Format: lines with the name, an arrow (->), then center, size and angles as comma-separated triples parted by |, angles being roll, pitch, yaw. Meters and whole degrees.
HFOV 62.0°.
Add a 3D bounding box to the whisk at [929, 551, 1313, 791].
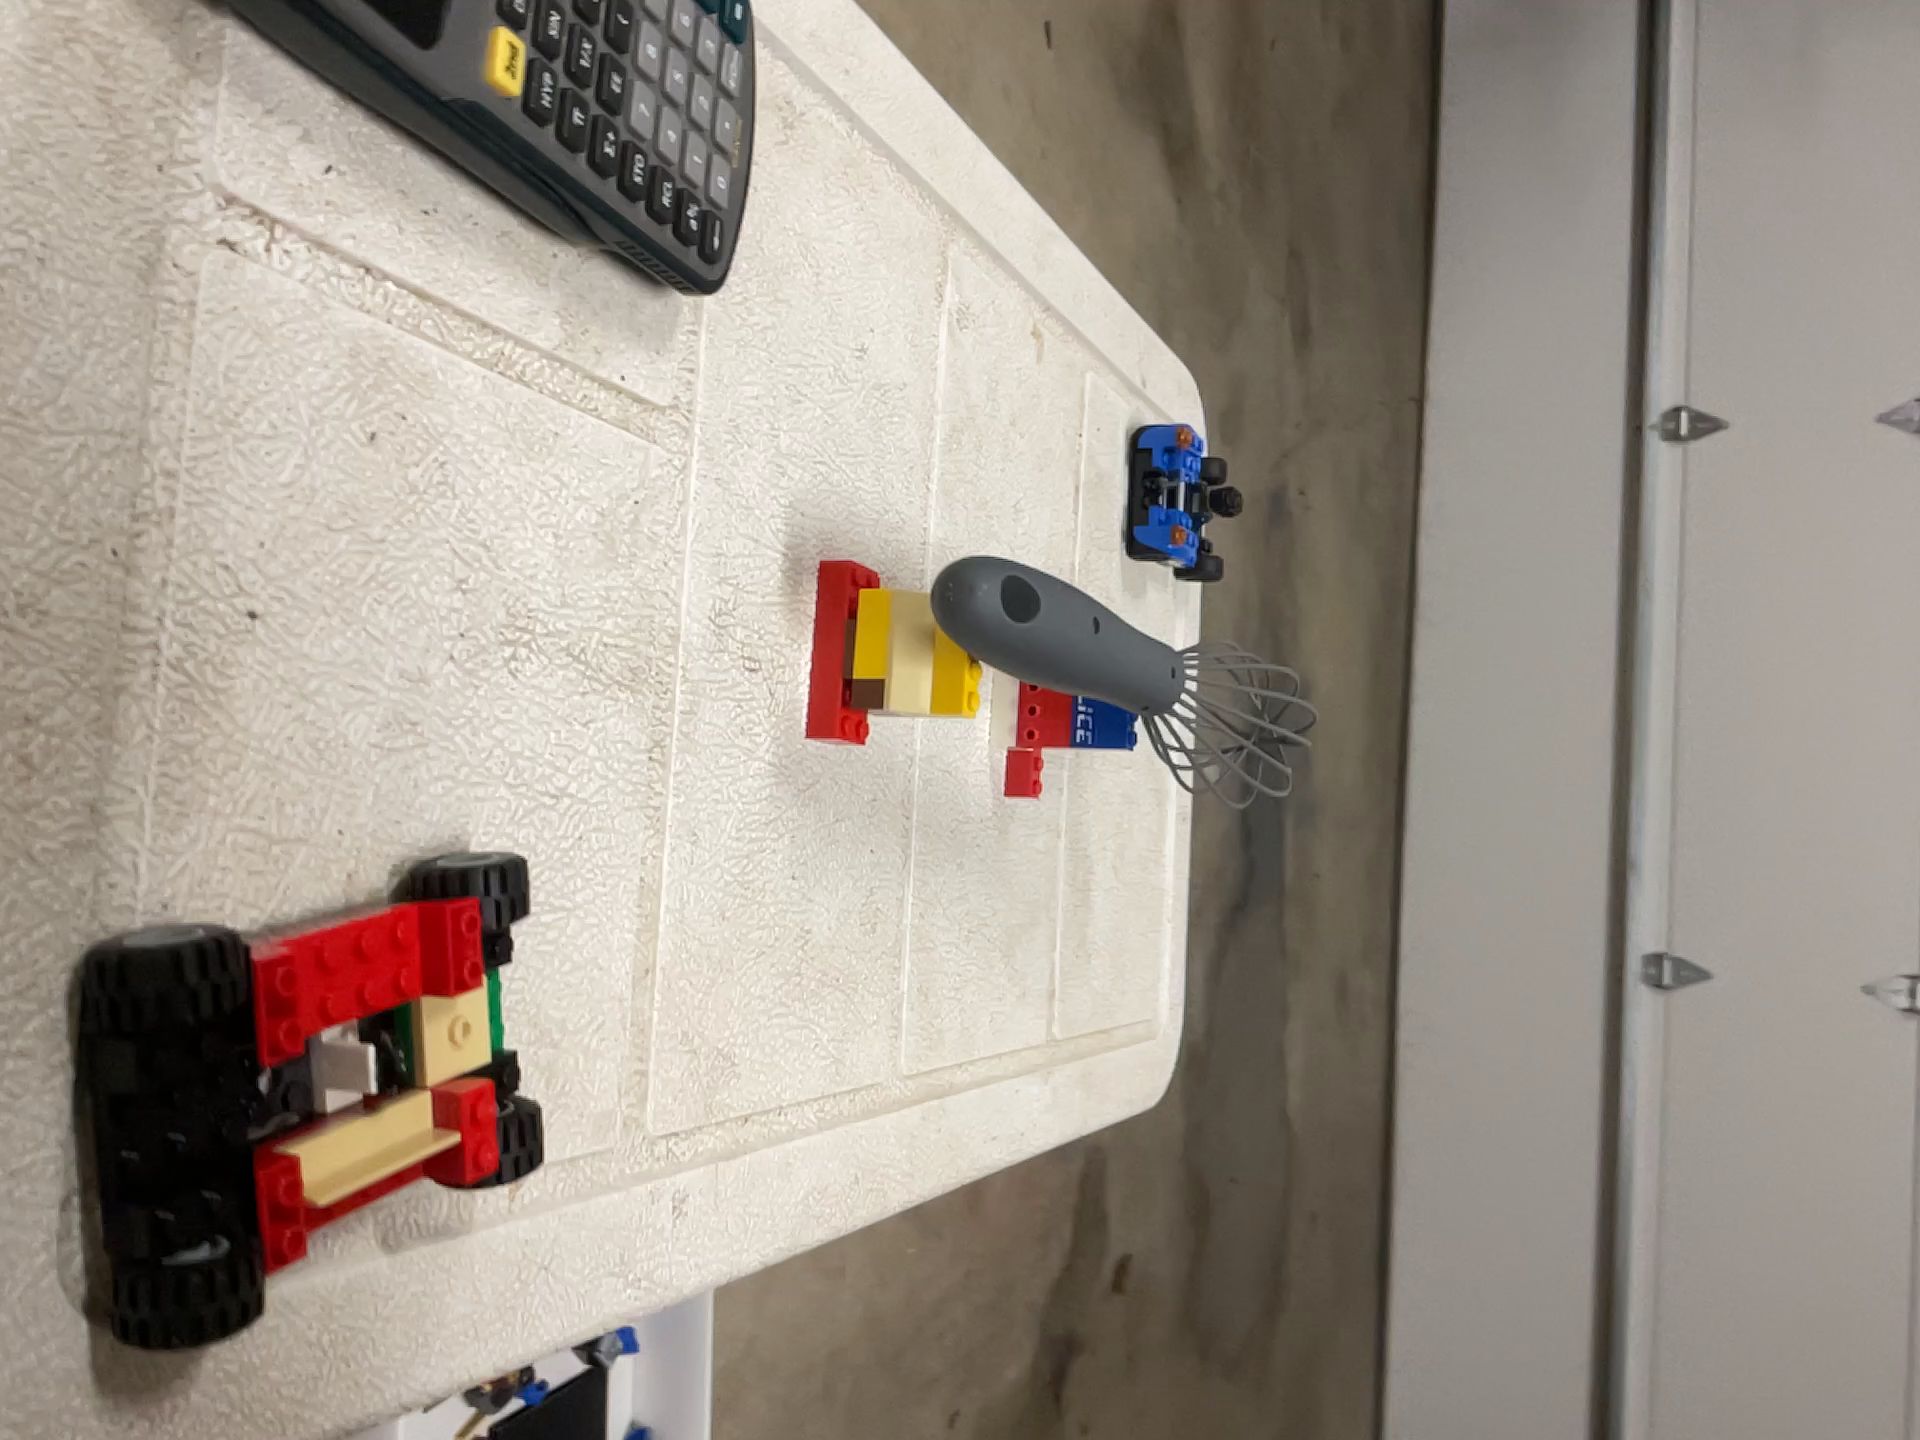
whisk -> 0.054, -0.014, 0.477 | 0.239, 0.055, 0.055 | 19, 71, -60
